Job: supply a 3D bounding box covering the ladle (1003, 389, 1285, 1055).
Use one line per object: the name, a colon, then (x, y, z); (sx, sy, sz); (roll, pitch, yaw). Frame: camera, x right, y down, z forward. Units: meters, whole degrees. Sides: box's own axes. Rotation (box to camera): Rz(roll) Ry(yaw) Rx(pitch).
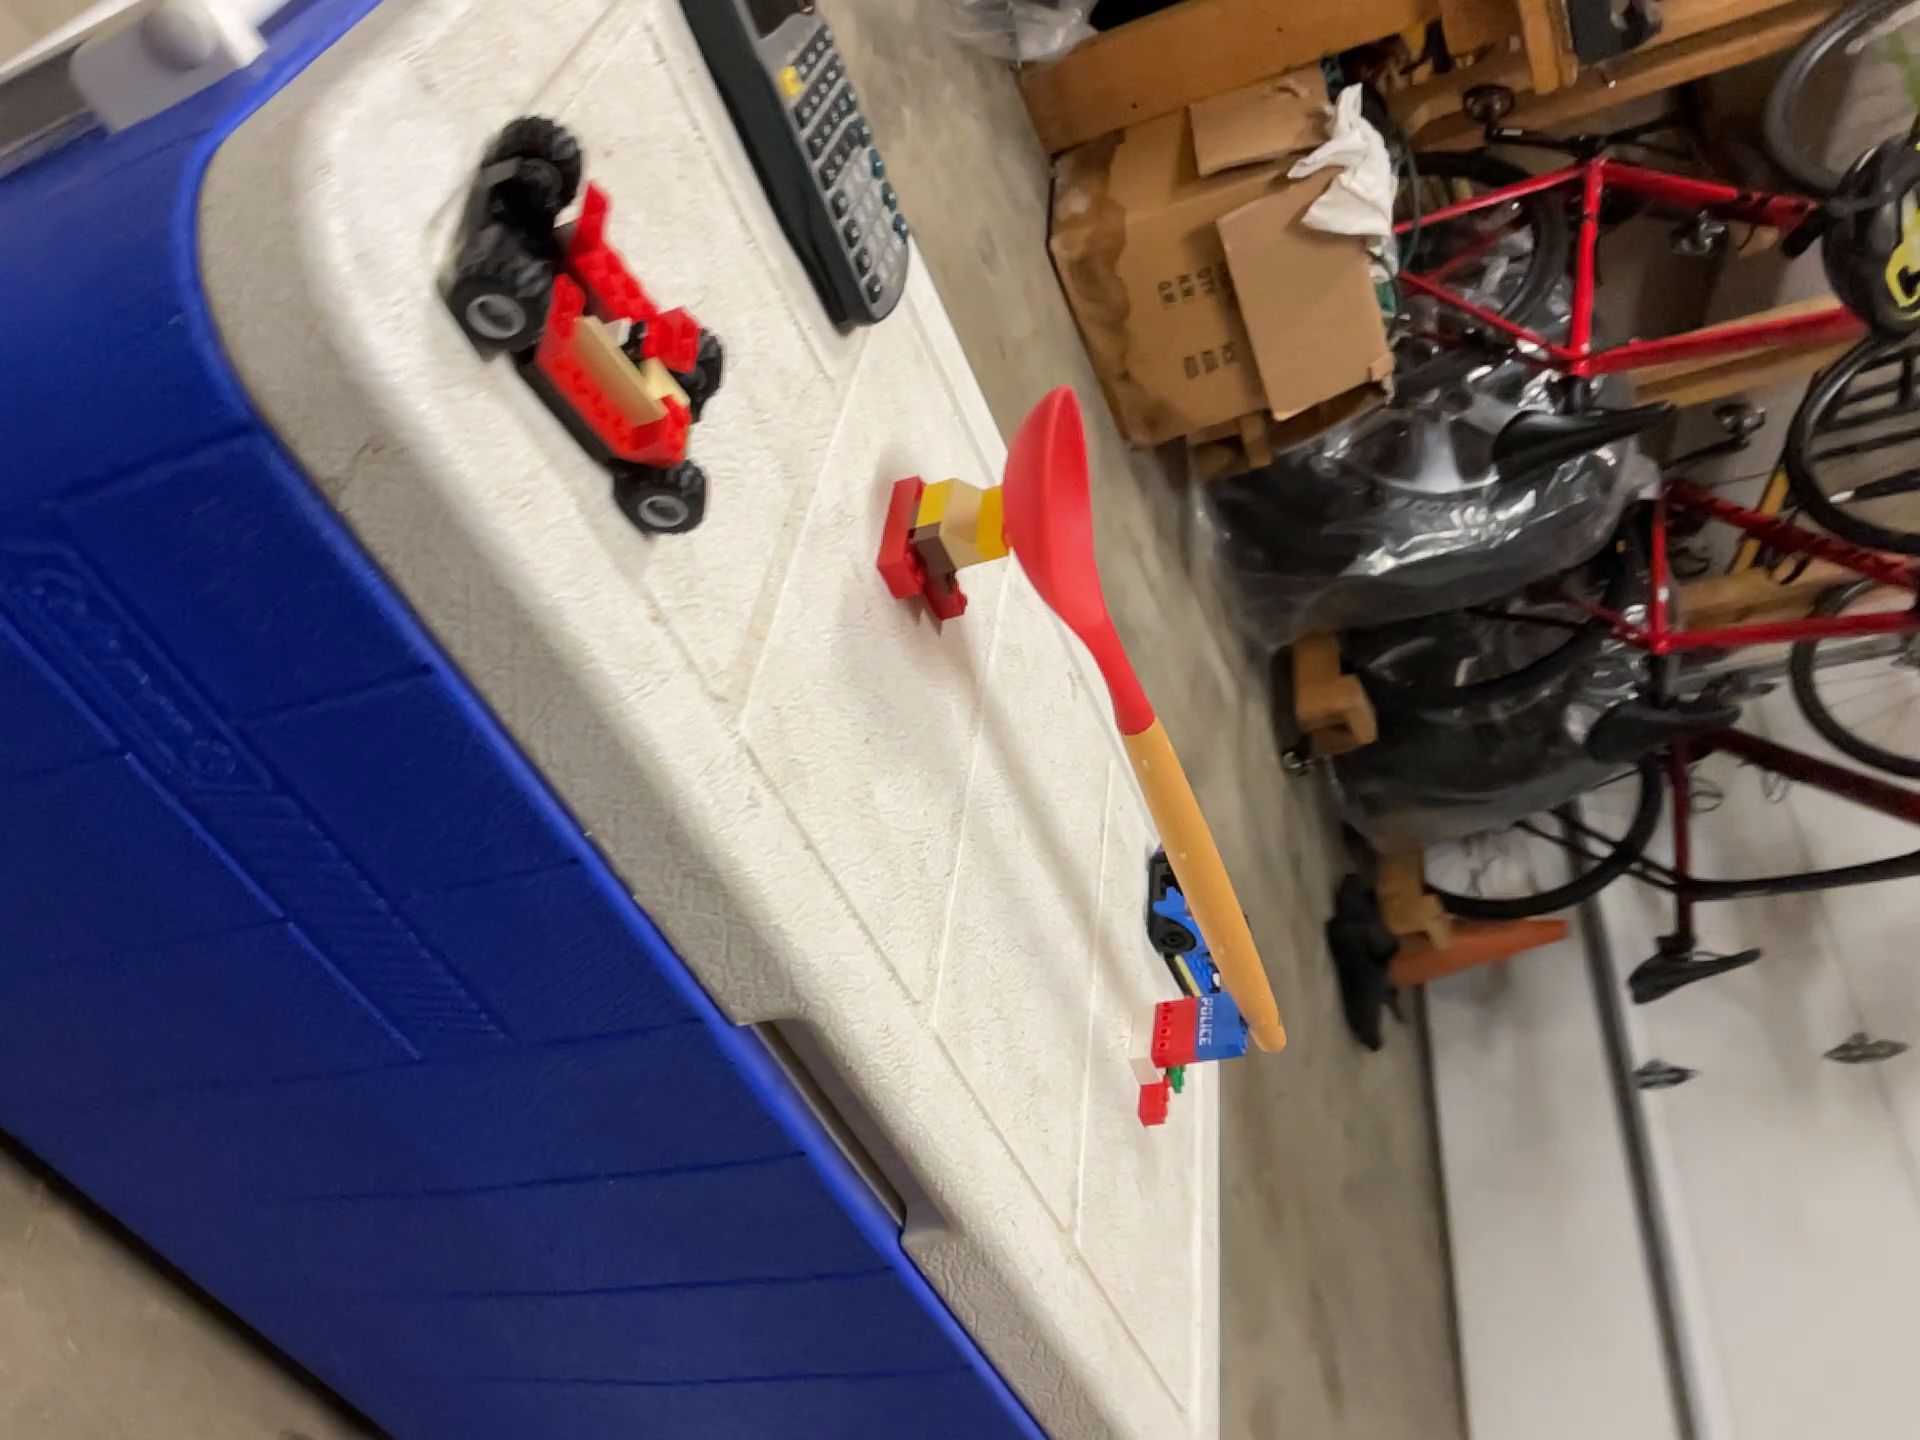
ladle: (0.076, 0.020, 0.598); (0.069, 0.031, 0.315); (-70, 143, -48)
